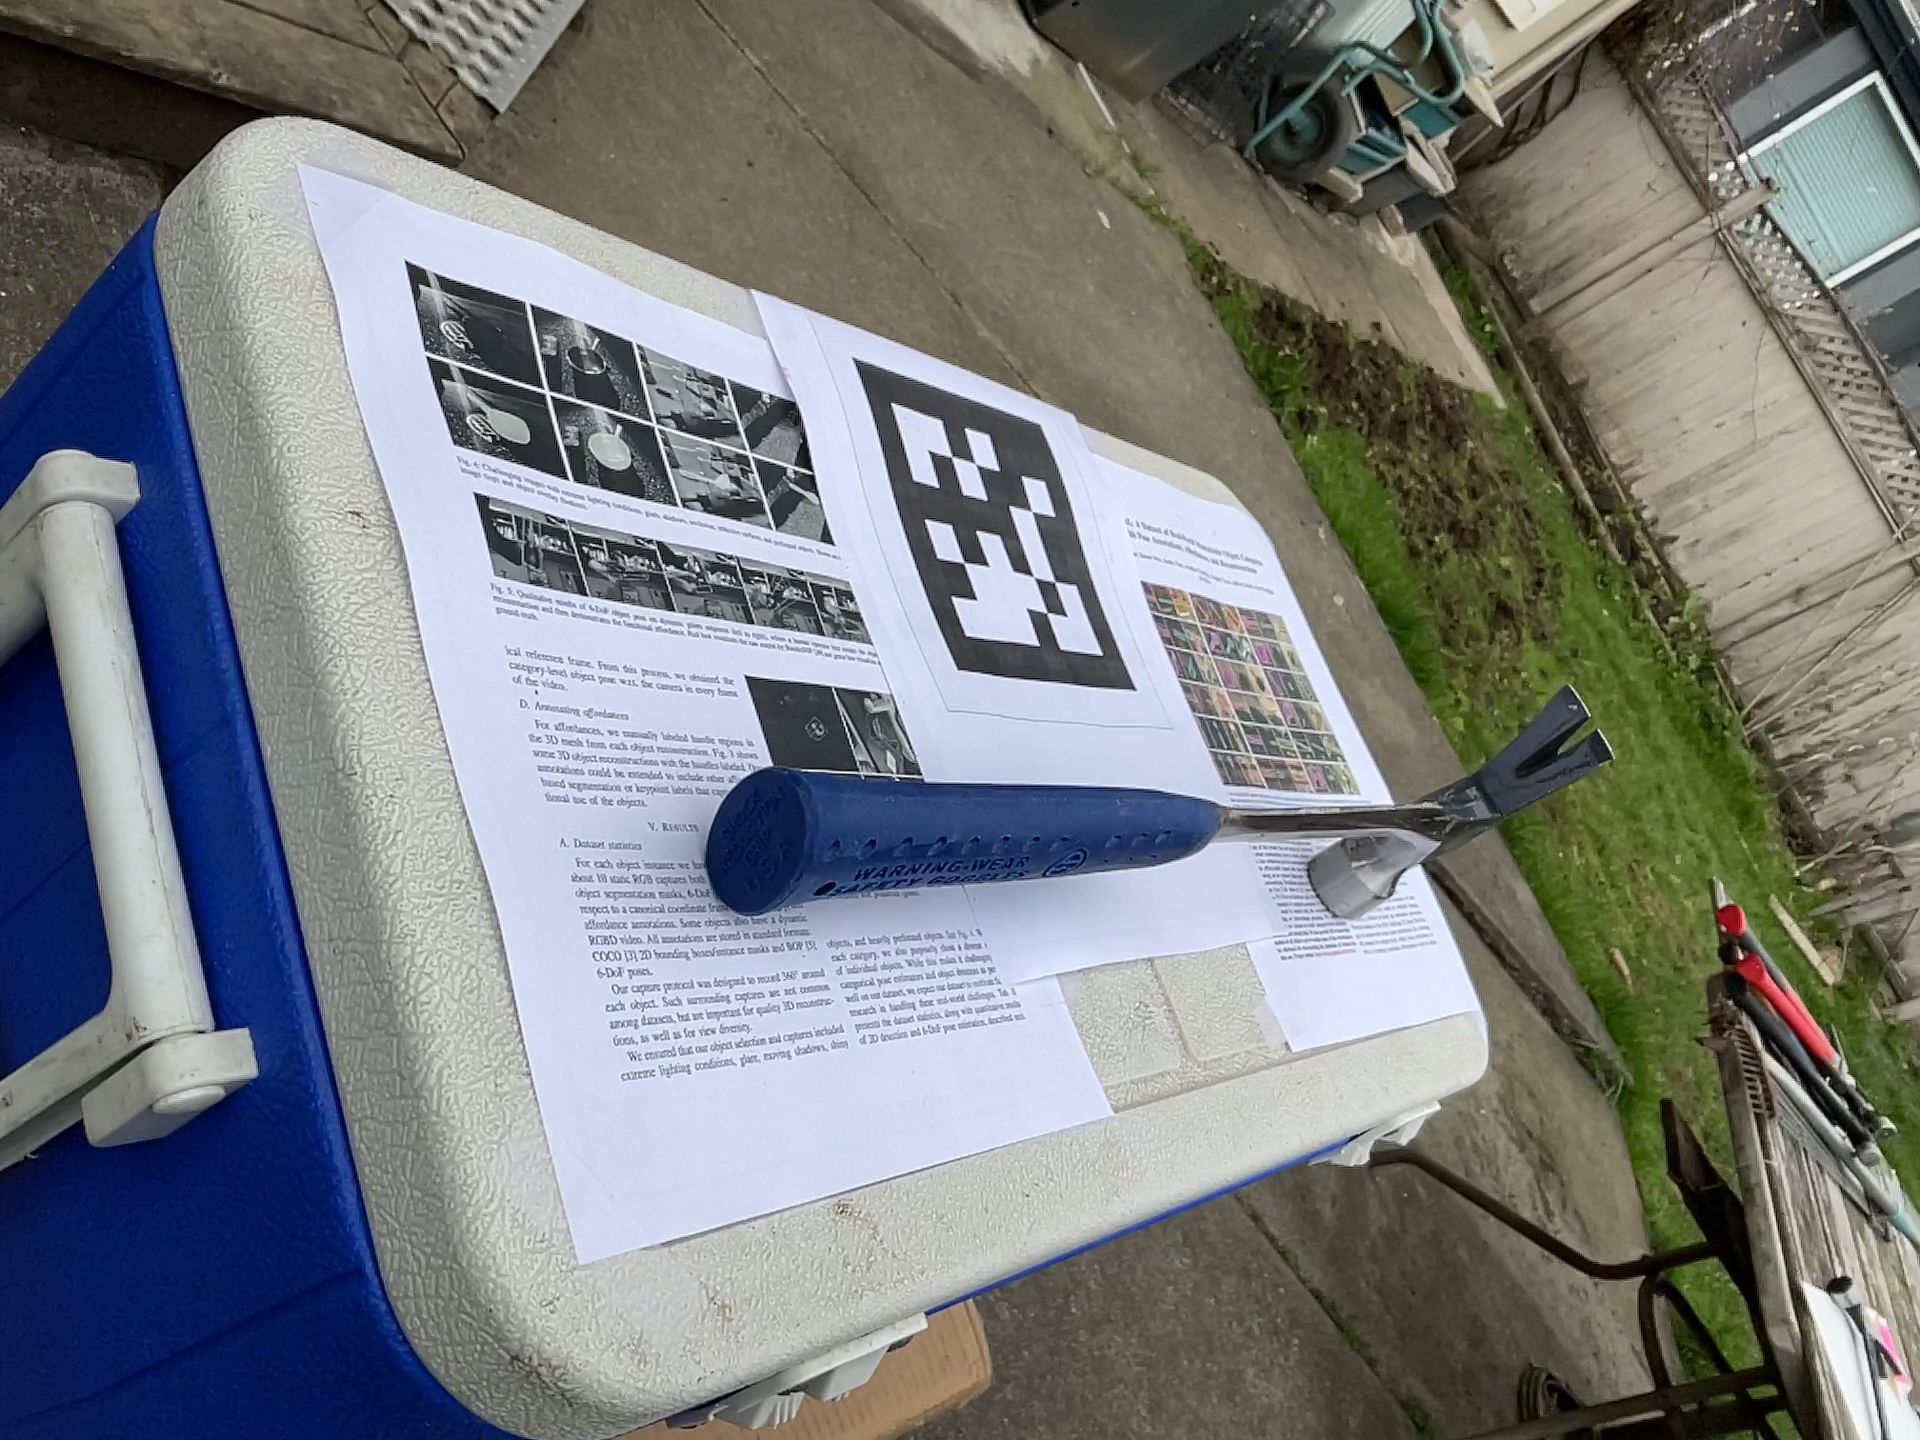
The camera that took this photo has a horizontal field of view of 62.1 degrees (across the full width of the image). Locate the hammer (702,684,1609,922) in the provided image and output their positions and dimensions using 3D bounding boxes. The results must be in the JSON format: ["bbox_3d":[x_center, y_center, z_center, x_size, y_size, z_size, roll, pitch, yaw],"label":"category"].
[{"bbox_3d":[0.088,0.033,0.543,0.405,0.144,0.035,3,55,-48],"label":"hammer"}]
